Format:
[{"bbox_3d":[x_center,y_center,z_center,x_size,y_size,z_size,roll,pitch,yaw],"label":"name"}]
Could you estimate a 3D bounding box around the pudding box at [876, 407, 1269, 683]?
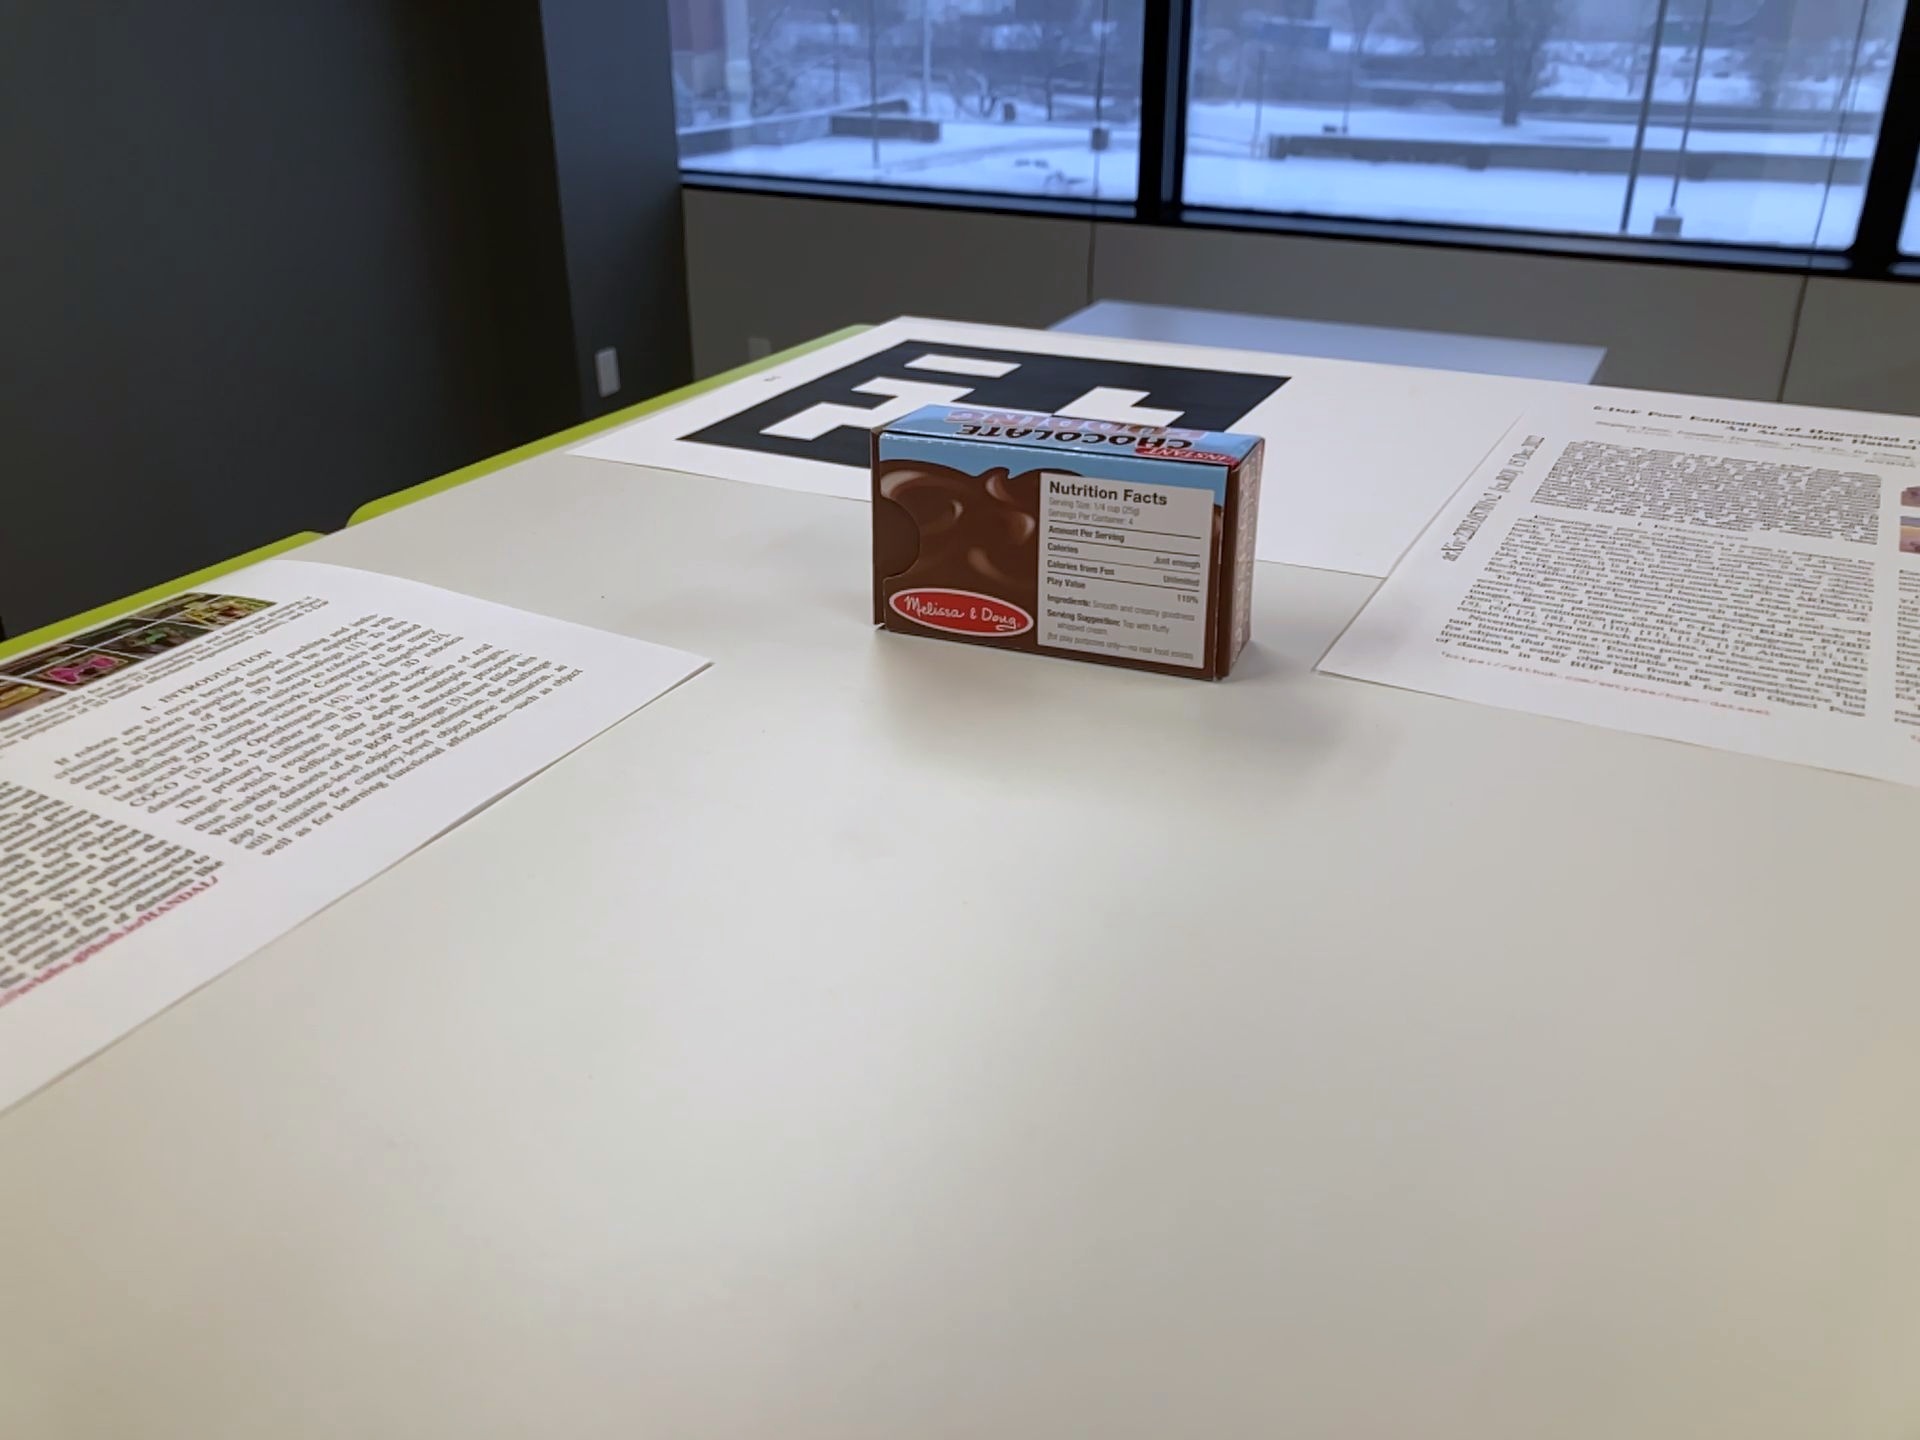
[{"bbox_3d":[0.024,-0.041,0.359,0.083,0.049,0.030,9,26,22],"label":"pudding box"}]
